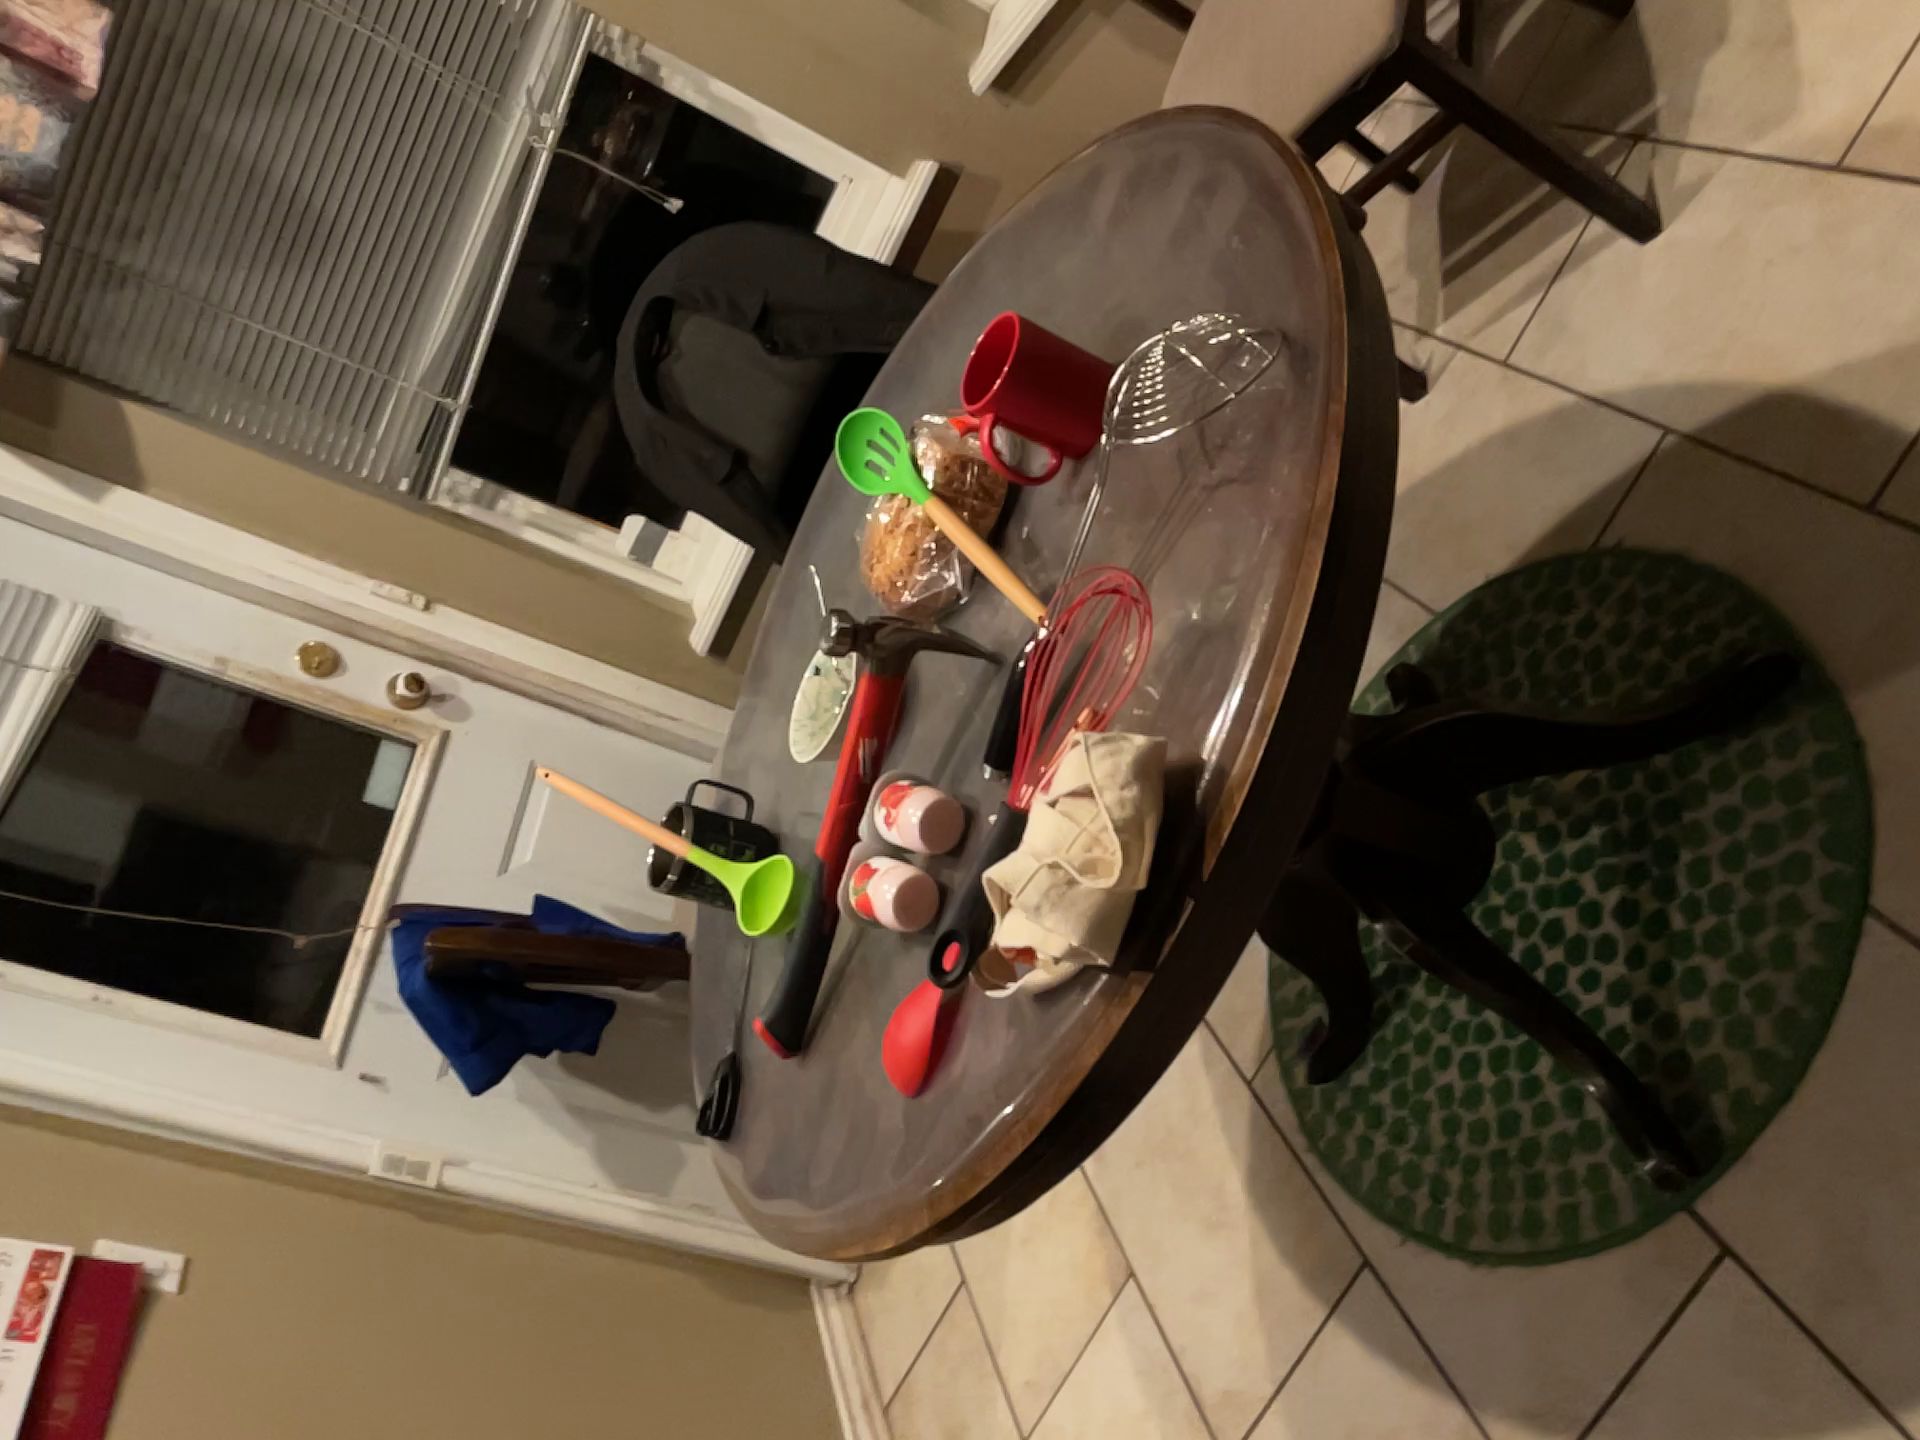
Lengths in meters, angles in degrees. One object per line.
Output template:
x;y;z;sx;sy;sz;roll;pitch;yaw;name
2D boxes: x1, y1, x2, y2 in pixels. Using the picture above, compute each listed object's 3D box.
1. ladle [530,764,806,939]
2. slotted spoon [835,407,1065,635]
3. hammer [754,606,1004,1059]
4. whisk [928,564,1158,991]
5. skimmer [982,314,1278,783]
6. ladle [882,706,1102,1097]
-0.276;0.108;1.459;0.078;0.320;0.062;-61;-20;-9;ladle
-0.009;-0.157;1.260;0.314;0.031;0.070;48;122;38;slotted spoon
-0.082;0.102;1.275;0.038;0.143;0.386;-126;48;-62;hammer
0.046;0.039;1.002;0.296;0.073;0.073;-66;26;8;whisk
0.110;-0.109;1.101;0.127;0.090;0.363;-104;31;-63;skimmer
0.019;0.127;1.107;0.315;0.031;0.069;-61;26;12;ladle
